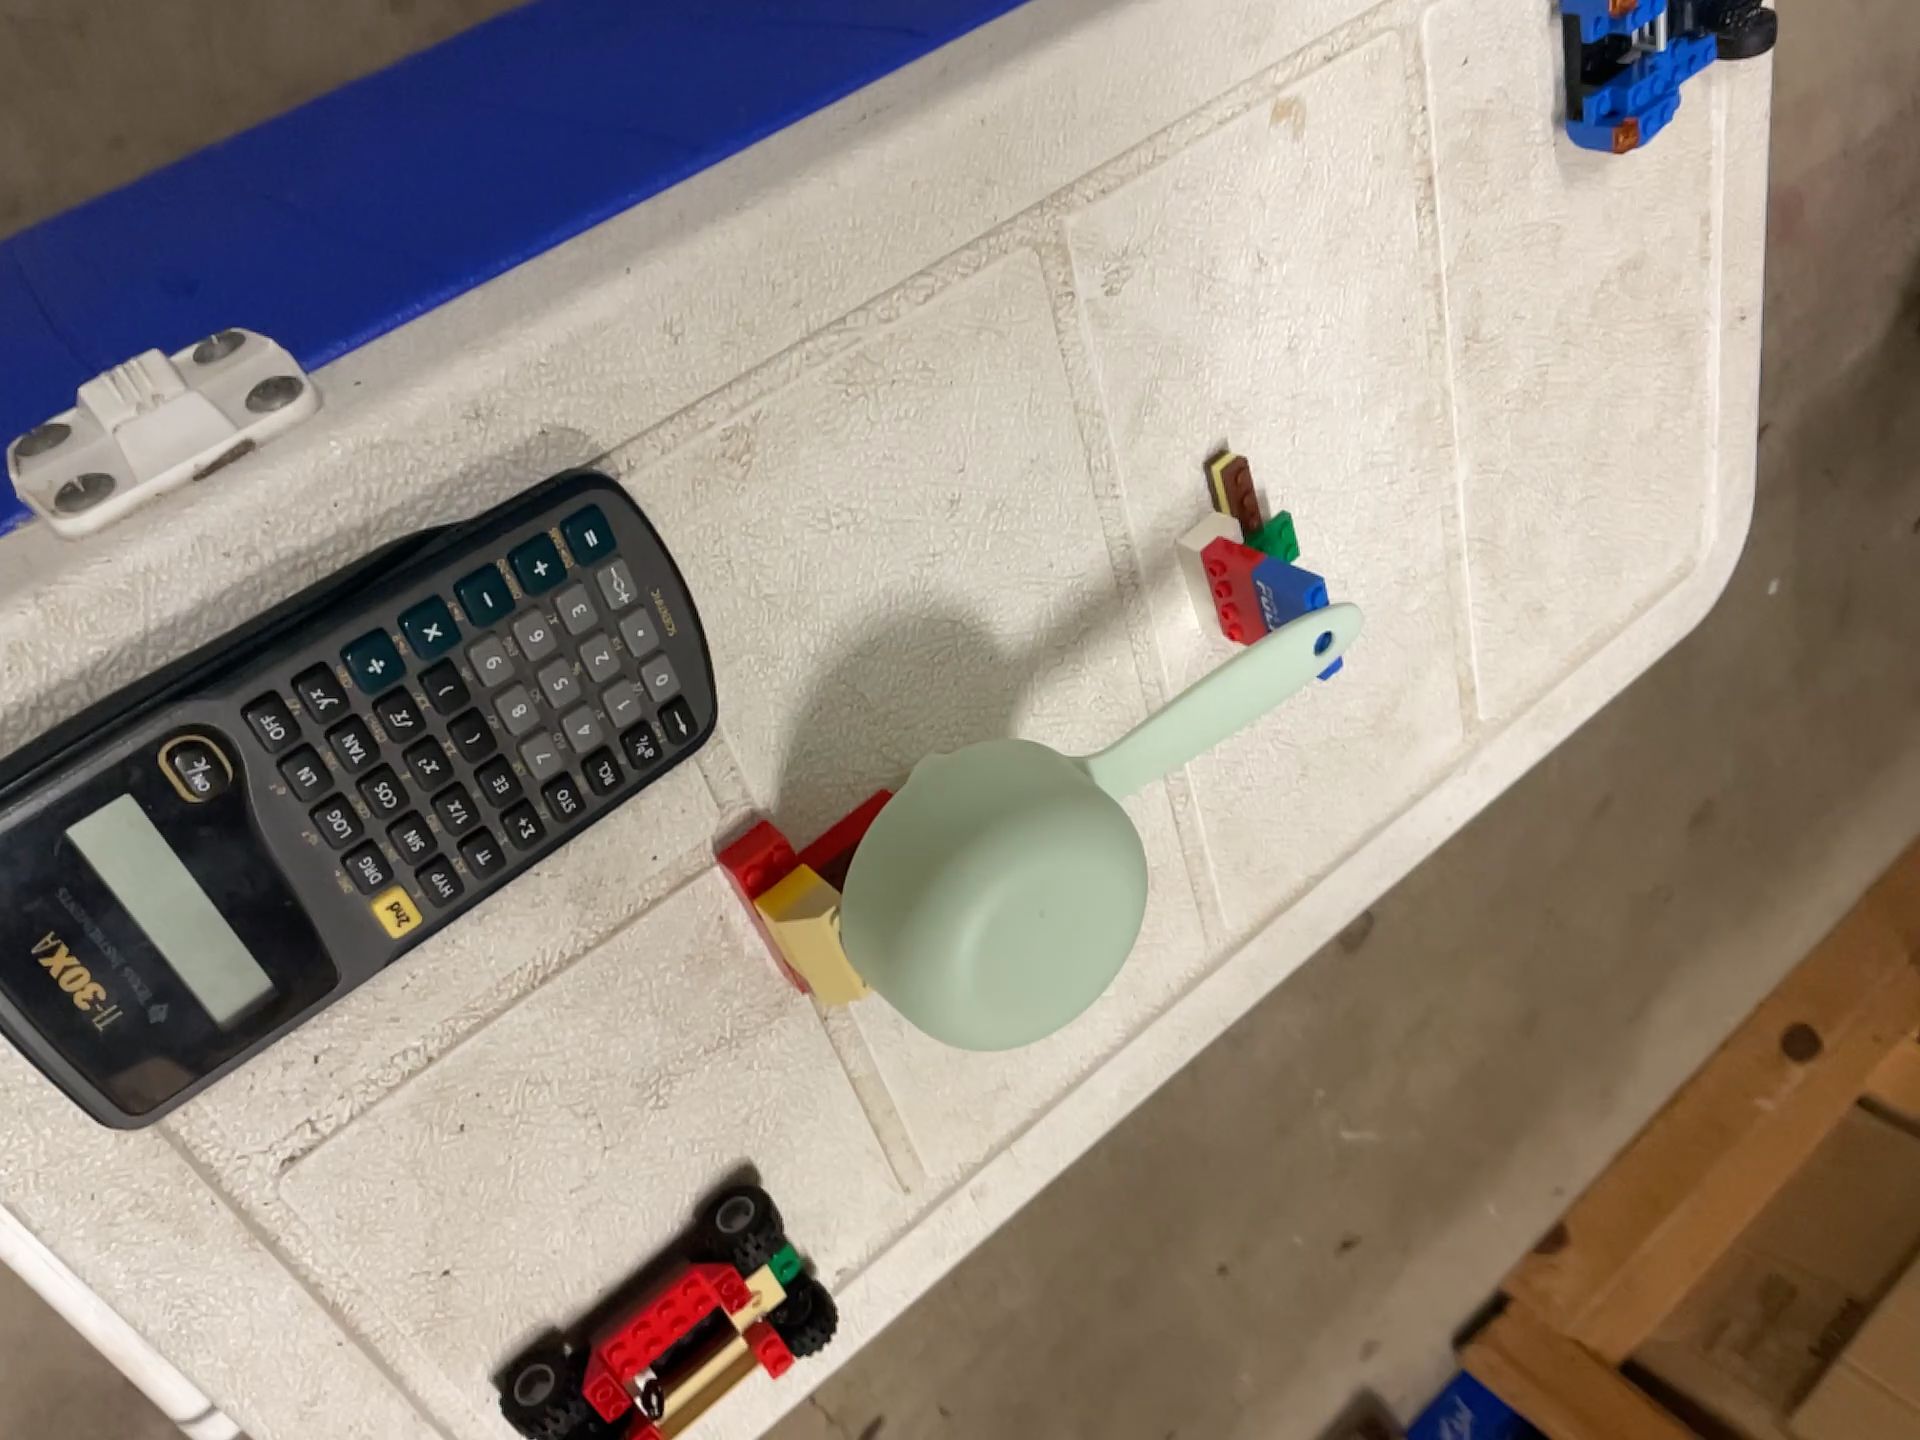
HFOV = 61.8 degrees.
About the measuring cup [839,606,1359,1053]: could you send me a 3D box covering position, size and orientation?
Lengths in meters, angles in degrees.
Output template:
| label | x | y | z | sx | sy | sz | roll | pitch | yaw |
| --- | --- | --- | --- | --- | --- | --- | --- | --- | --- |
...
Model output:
| label | x | y | z | sx | sy | sz | roll | pitch | yaw |
| --- | --- | --- | --- | --- | --- | --- | --- | --- | --- |
| measuring cup | 0.048 | 0.022 | 0.407 | 0.167 | 0.038 | 0.083 | -33 | 130 | -15 |
